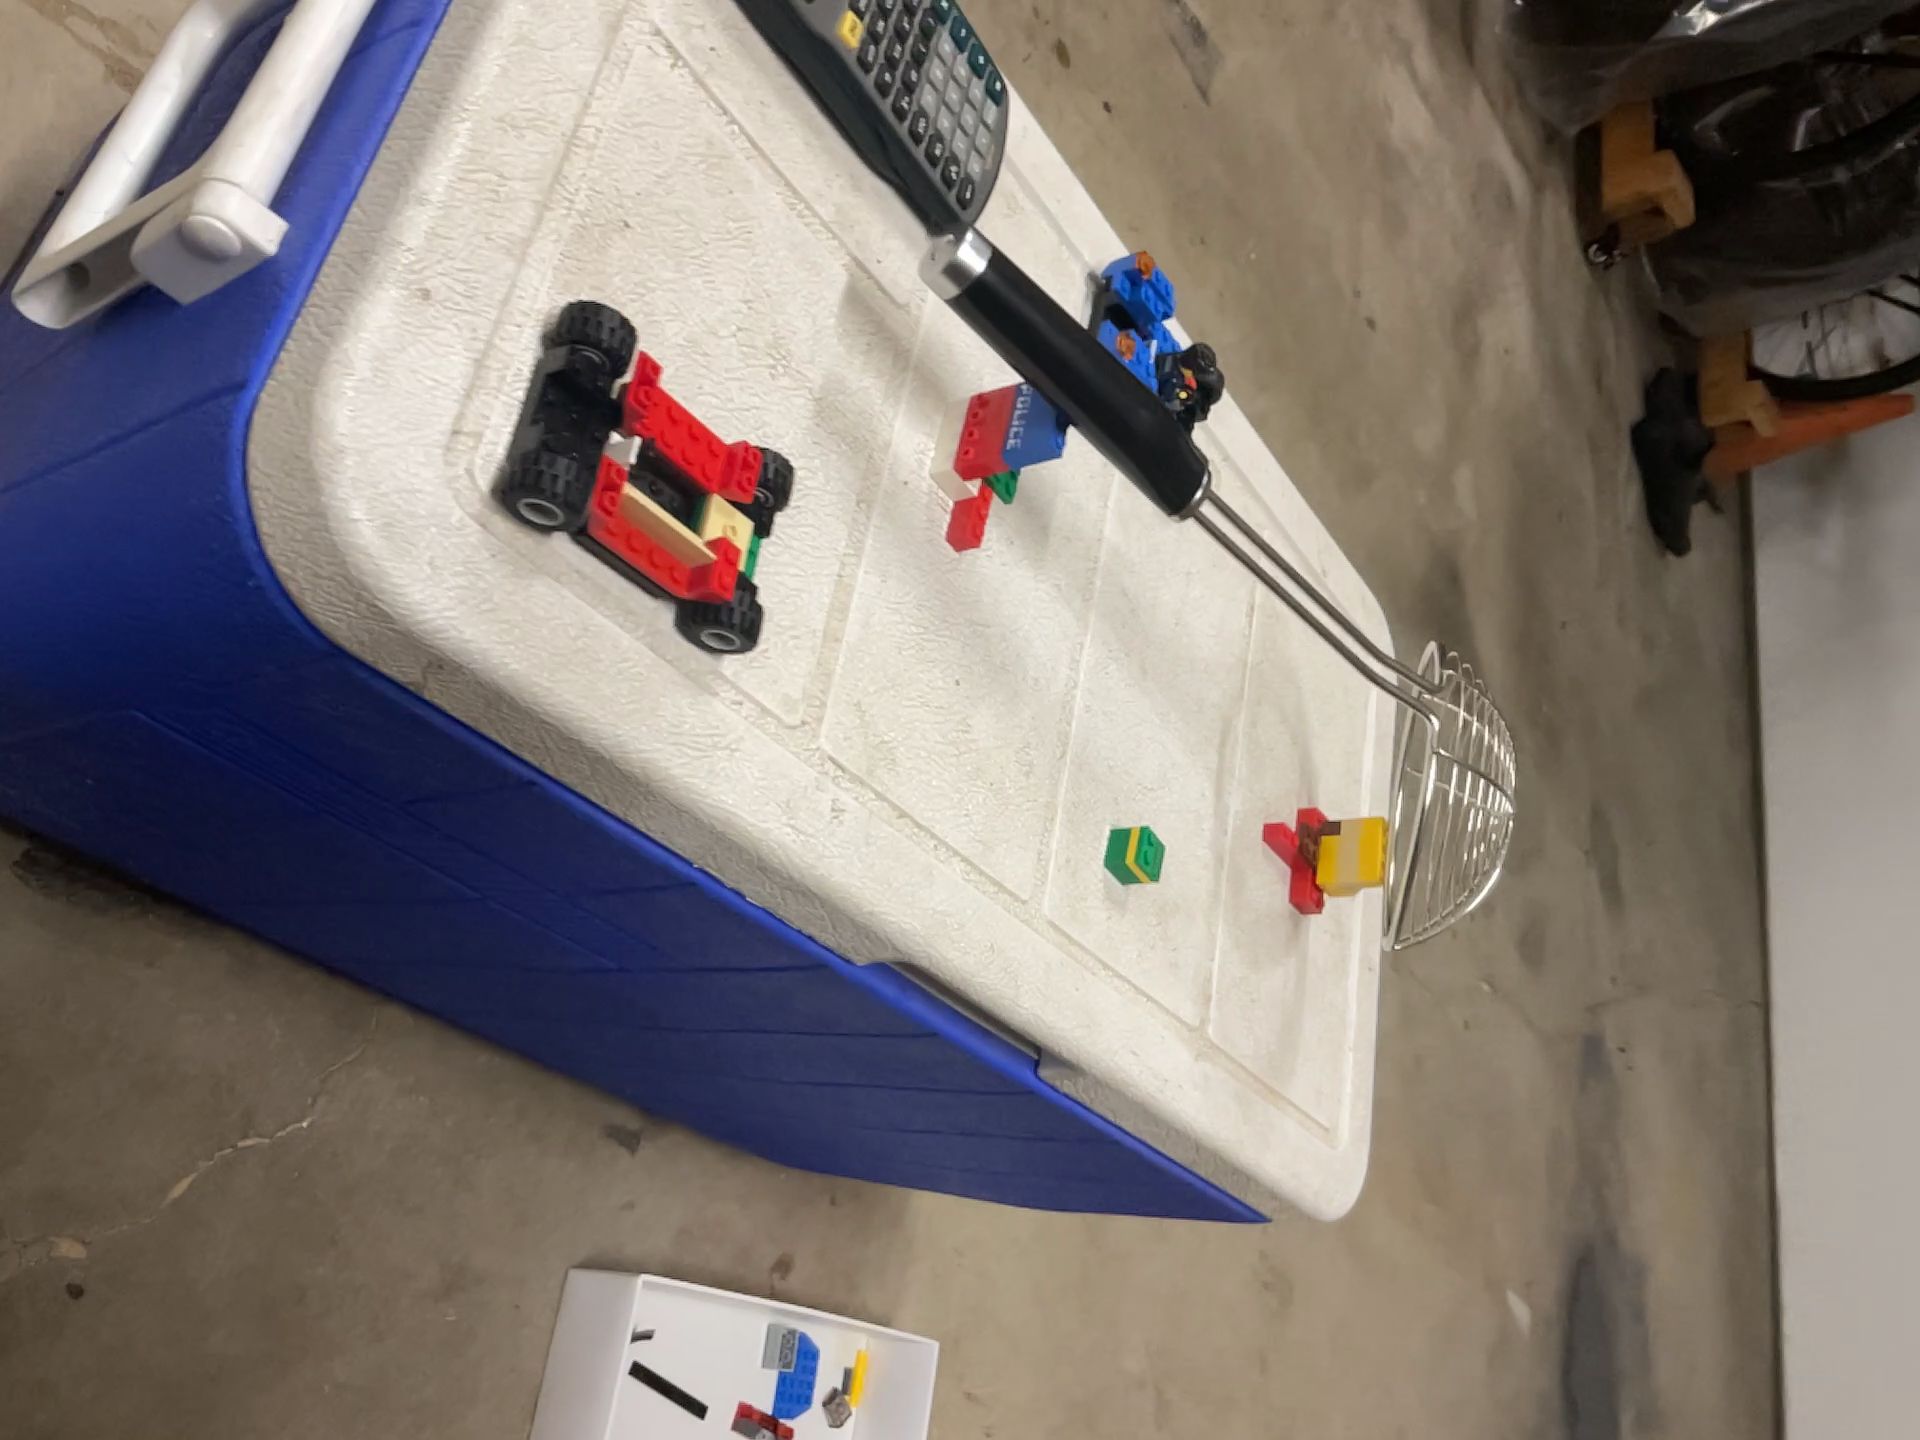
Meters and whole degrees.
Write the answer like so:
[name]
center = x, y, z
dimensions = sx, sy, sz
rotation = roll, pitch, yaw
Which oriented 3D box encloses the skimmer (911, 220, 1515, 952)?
[skimmer]
center = 0.096, -0.037, 0.582
dimensions = 0.363, 0.090, 0.127
rotation = 37, 53, -31
